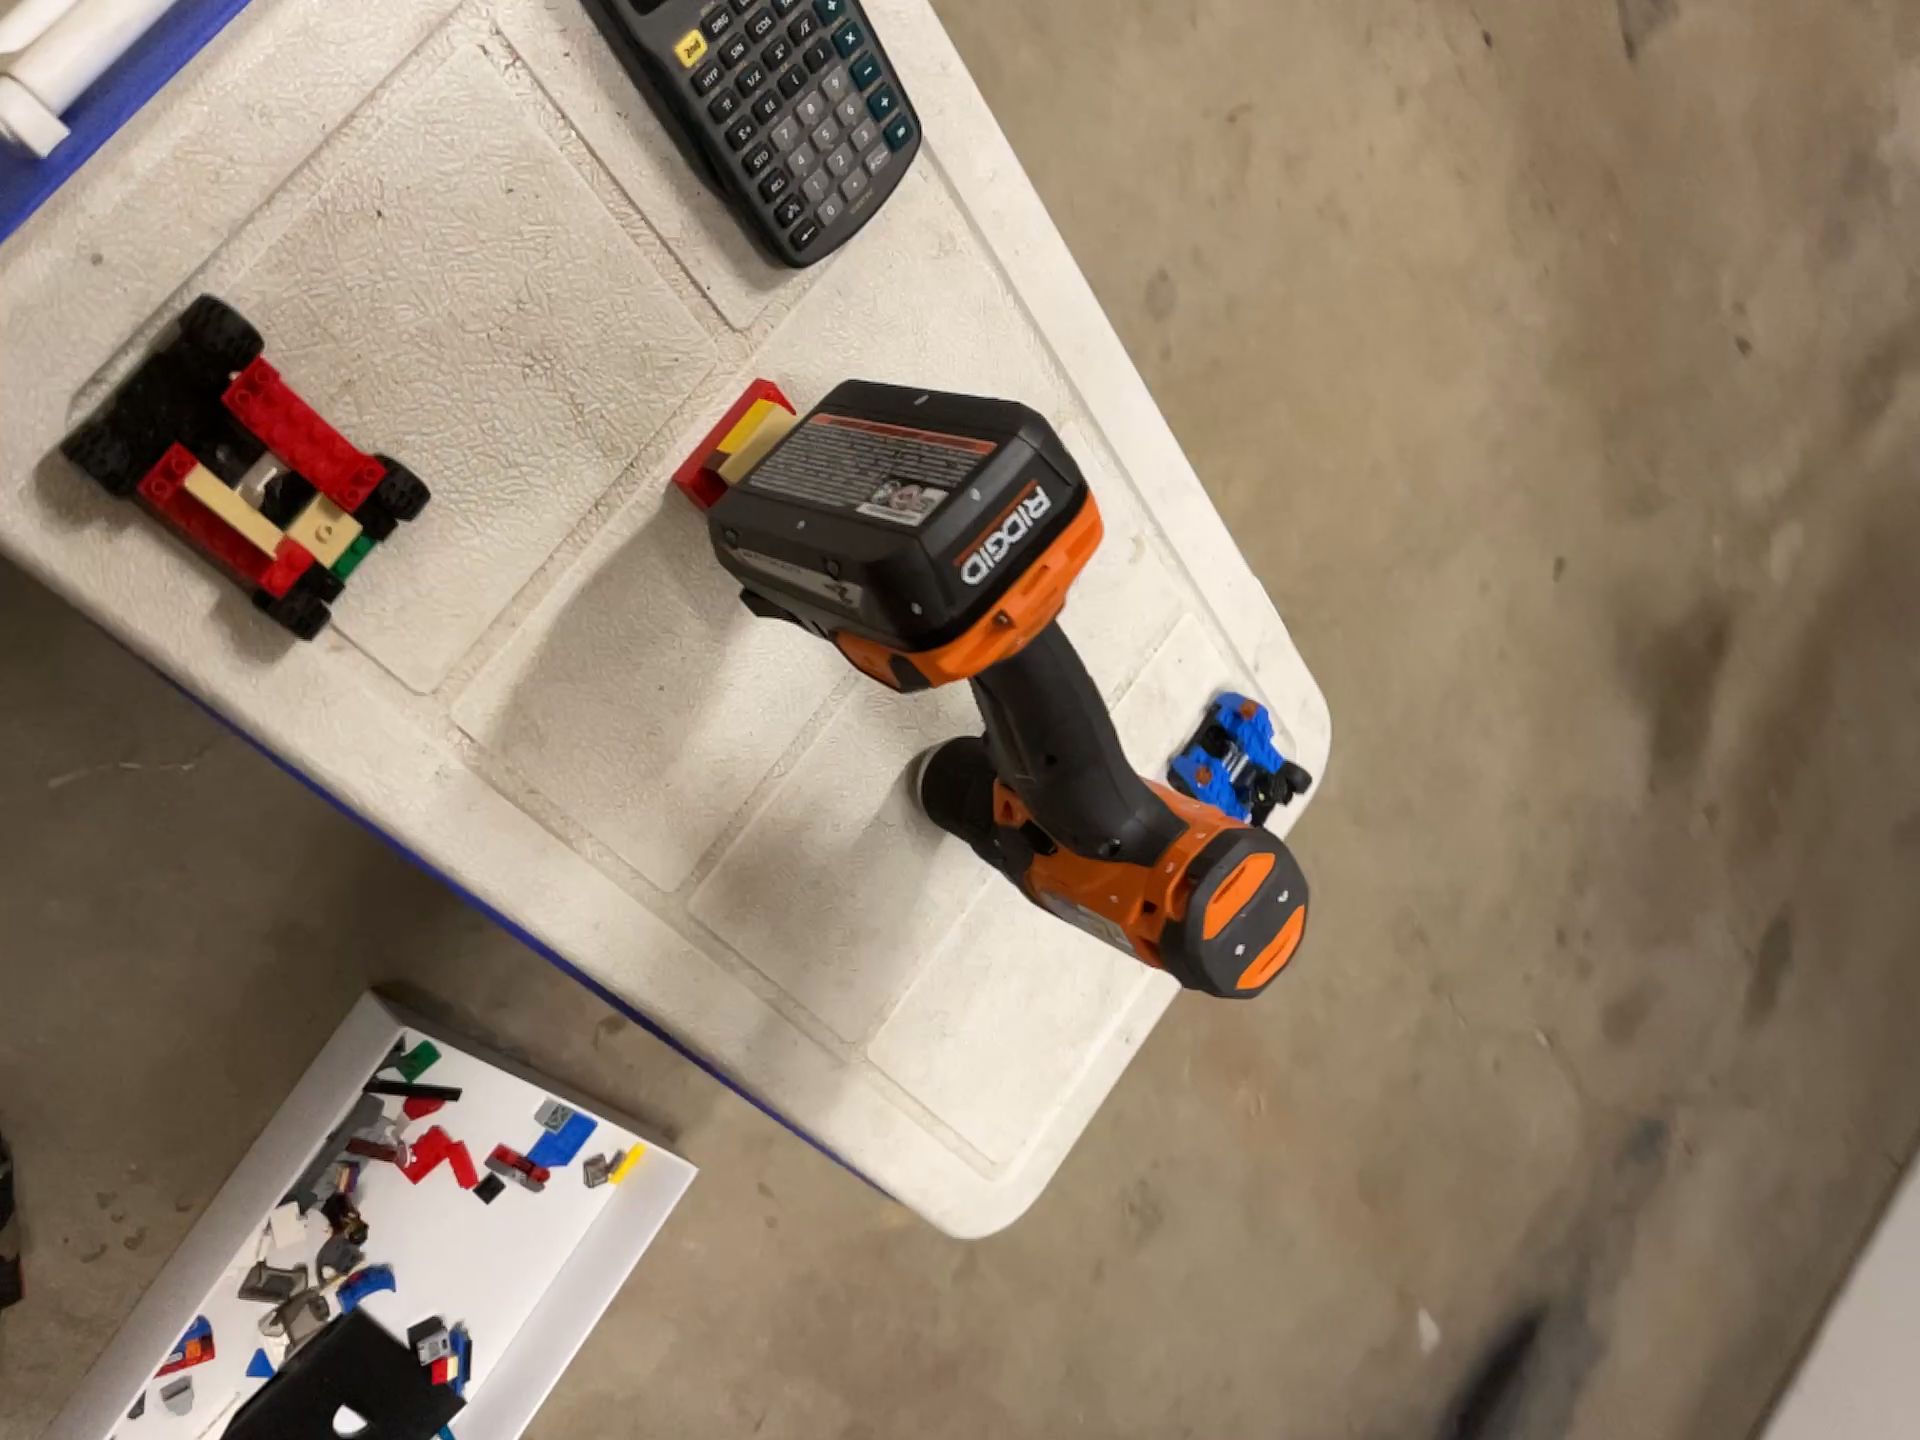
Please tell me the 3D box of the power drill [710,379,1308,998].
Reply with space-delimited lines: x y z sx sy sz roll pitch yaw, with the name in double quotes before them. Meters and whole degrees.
"power drill" 0.009 -0.008 0.560 0.084 0.185 0.226 -47 127 -16
